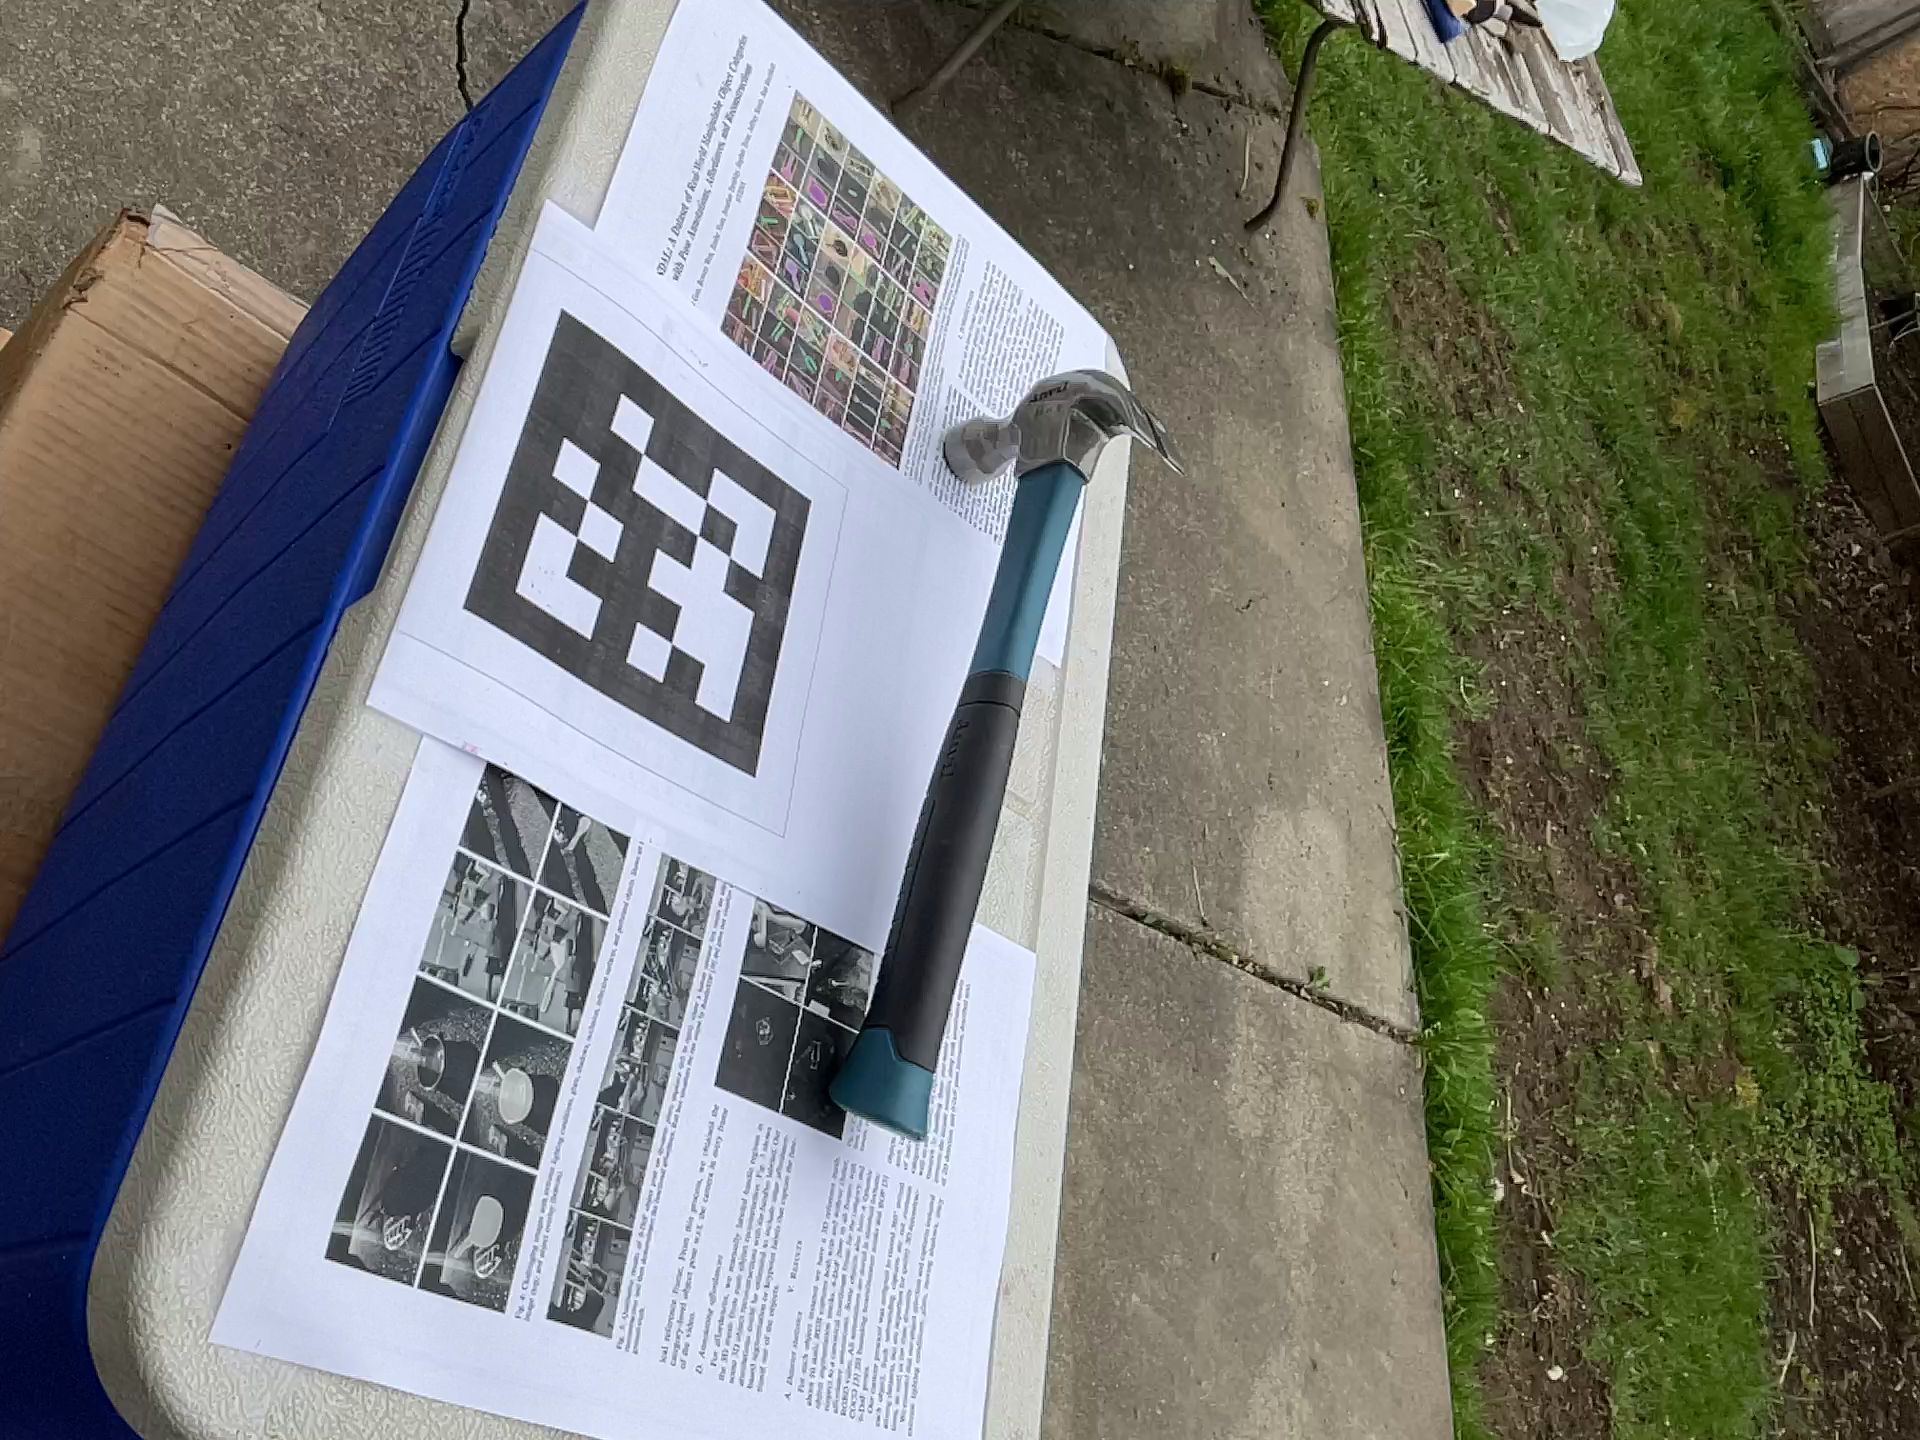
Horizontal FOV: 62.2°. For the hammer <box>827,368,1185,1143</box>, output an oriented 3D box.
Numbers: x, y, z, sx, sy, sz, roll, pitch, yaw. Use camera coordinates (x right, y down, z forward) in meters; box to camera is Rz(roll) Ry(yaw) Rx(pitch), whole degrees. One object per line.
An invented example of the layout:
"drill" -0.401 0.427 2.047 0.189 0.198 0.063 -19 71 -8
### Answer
"hammer" 0.009 -0.001 0.619 0.033 0.128 0.331 34 59 -33
